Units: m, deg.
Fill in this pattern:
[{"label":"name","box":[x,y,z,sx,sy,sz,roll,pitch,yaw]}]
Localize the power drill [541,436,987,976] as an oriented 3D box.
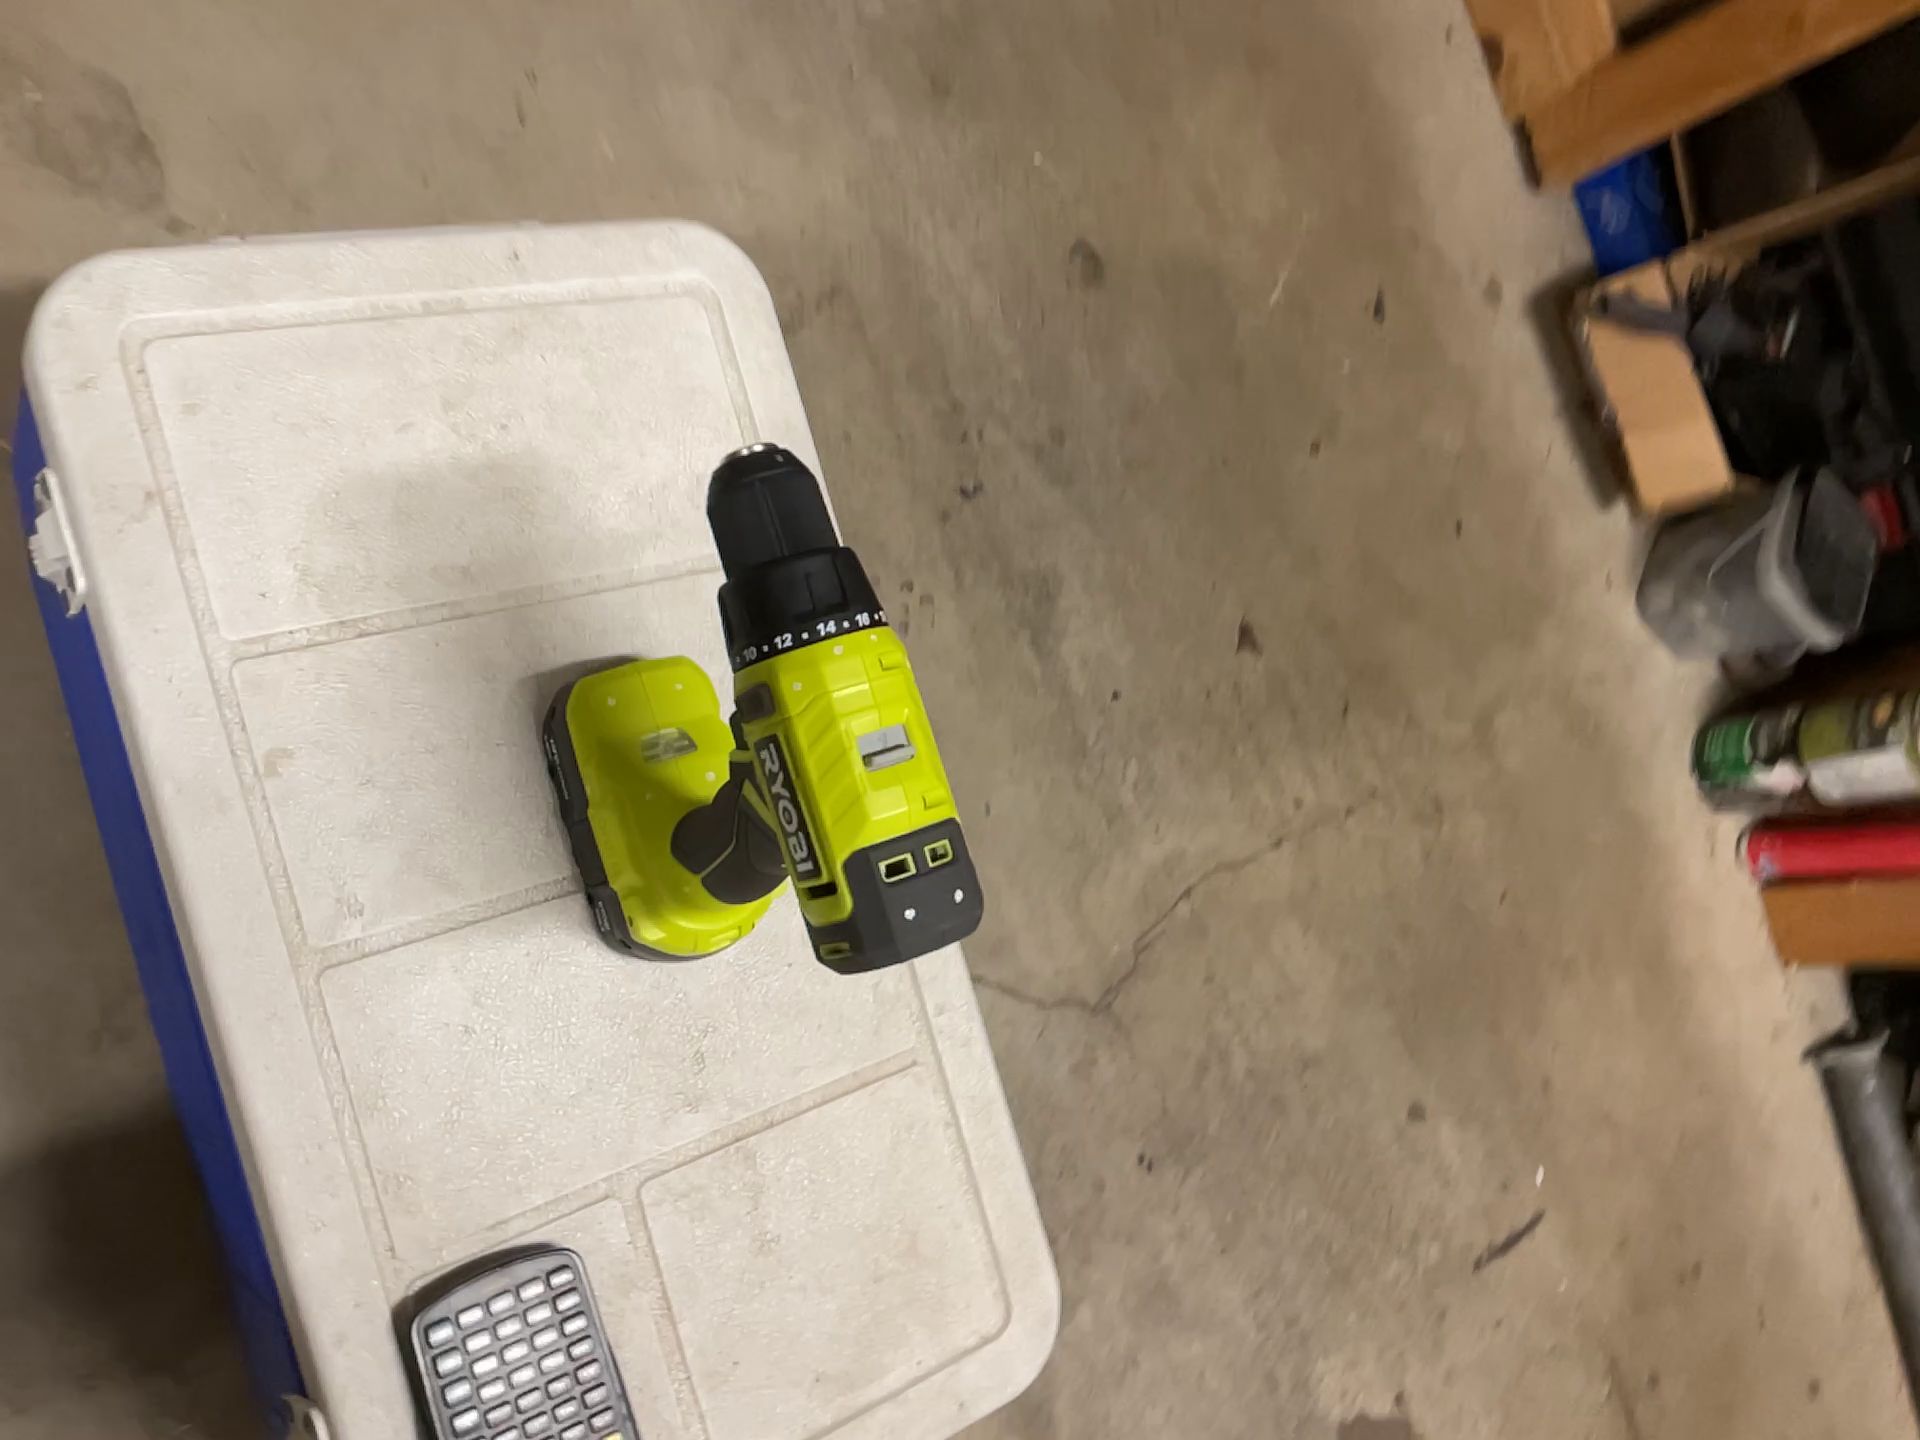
[{"label":"power drill","box":[-0.089,0.008,0.635,0.080,0.228,0.190,-17,88,-34]}]
